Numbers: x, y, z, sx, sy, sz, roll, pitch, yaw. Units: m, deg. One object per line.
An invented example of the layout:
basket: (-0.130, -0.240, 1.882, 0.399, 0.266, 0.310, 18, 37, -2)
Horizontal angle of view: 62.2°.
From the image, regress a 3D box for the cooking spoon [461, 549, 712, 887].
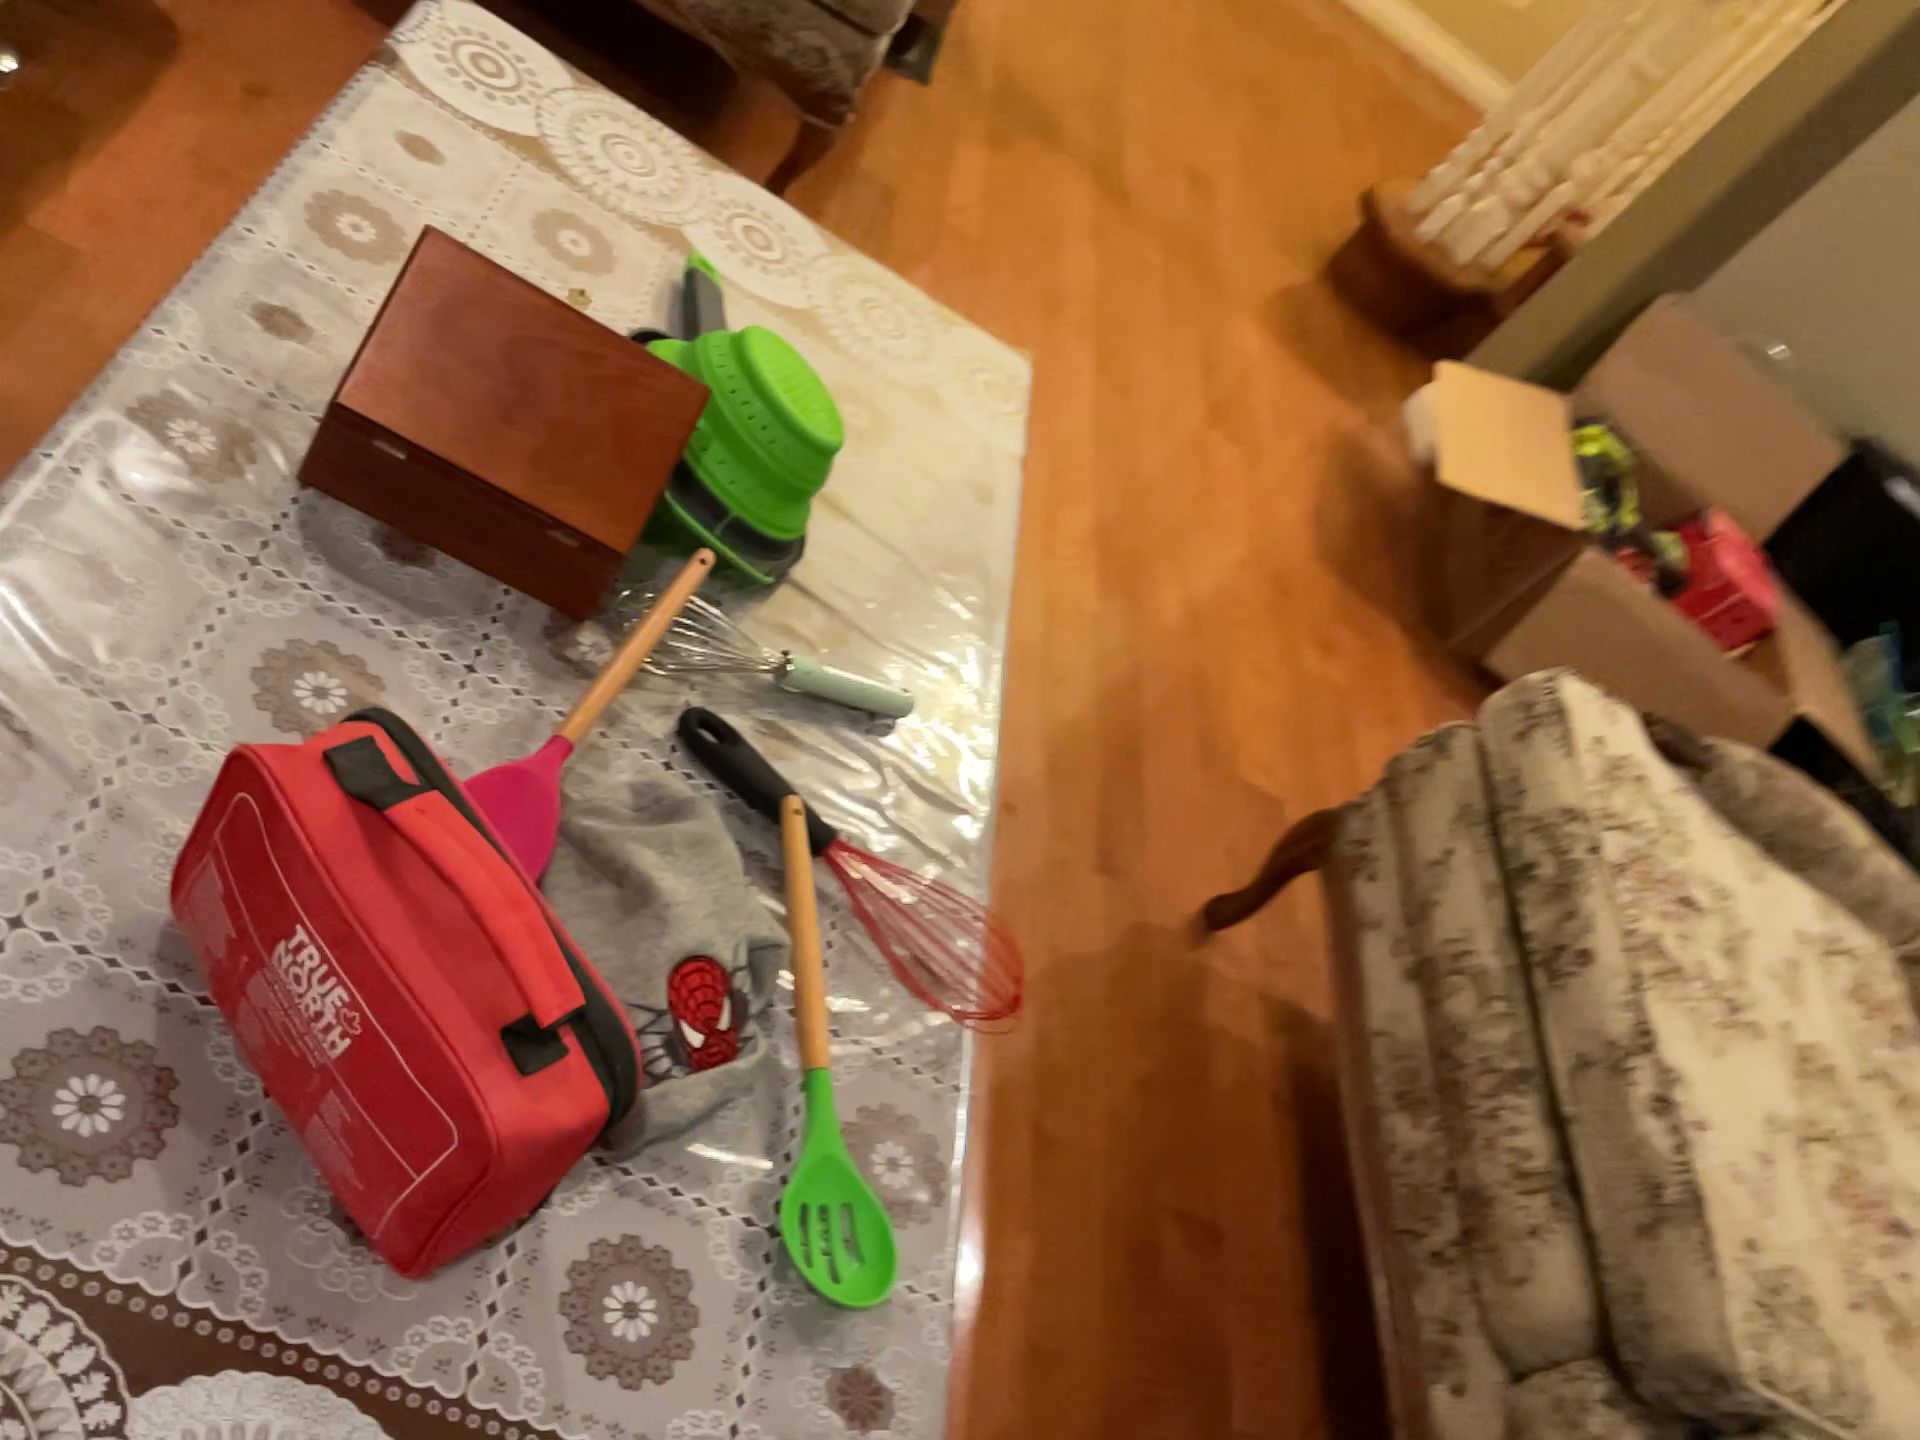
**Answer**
cooking spoon: (-0.224, -0.002, 0.949, 0.068, 0.017, 0.319, 37, 48, -11)

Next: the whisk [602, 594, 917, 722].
whisk: (-0.131, -0.035, 1.097, 0.246, 0.059, 0.058, 15, 87, -35)

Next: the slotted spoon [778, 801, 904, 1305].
slotted spoon: (-0.083, 0.182, 0.921, 0.070, 0.031, 0.314, 14, 49, -33)

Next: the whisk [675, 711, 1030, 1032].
whisk: (-0.070, 0.093, 1.016, 0.296, 0.073, 0.073, 41, 43, 7)

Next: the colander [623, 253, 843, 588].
colander: (-0.164, -0.271, 1.210, 0.204, 0.094, 0.398, 40, 25, -38)
